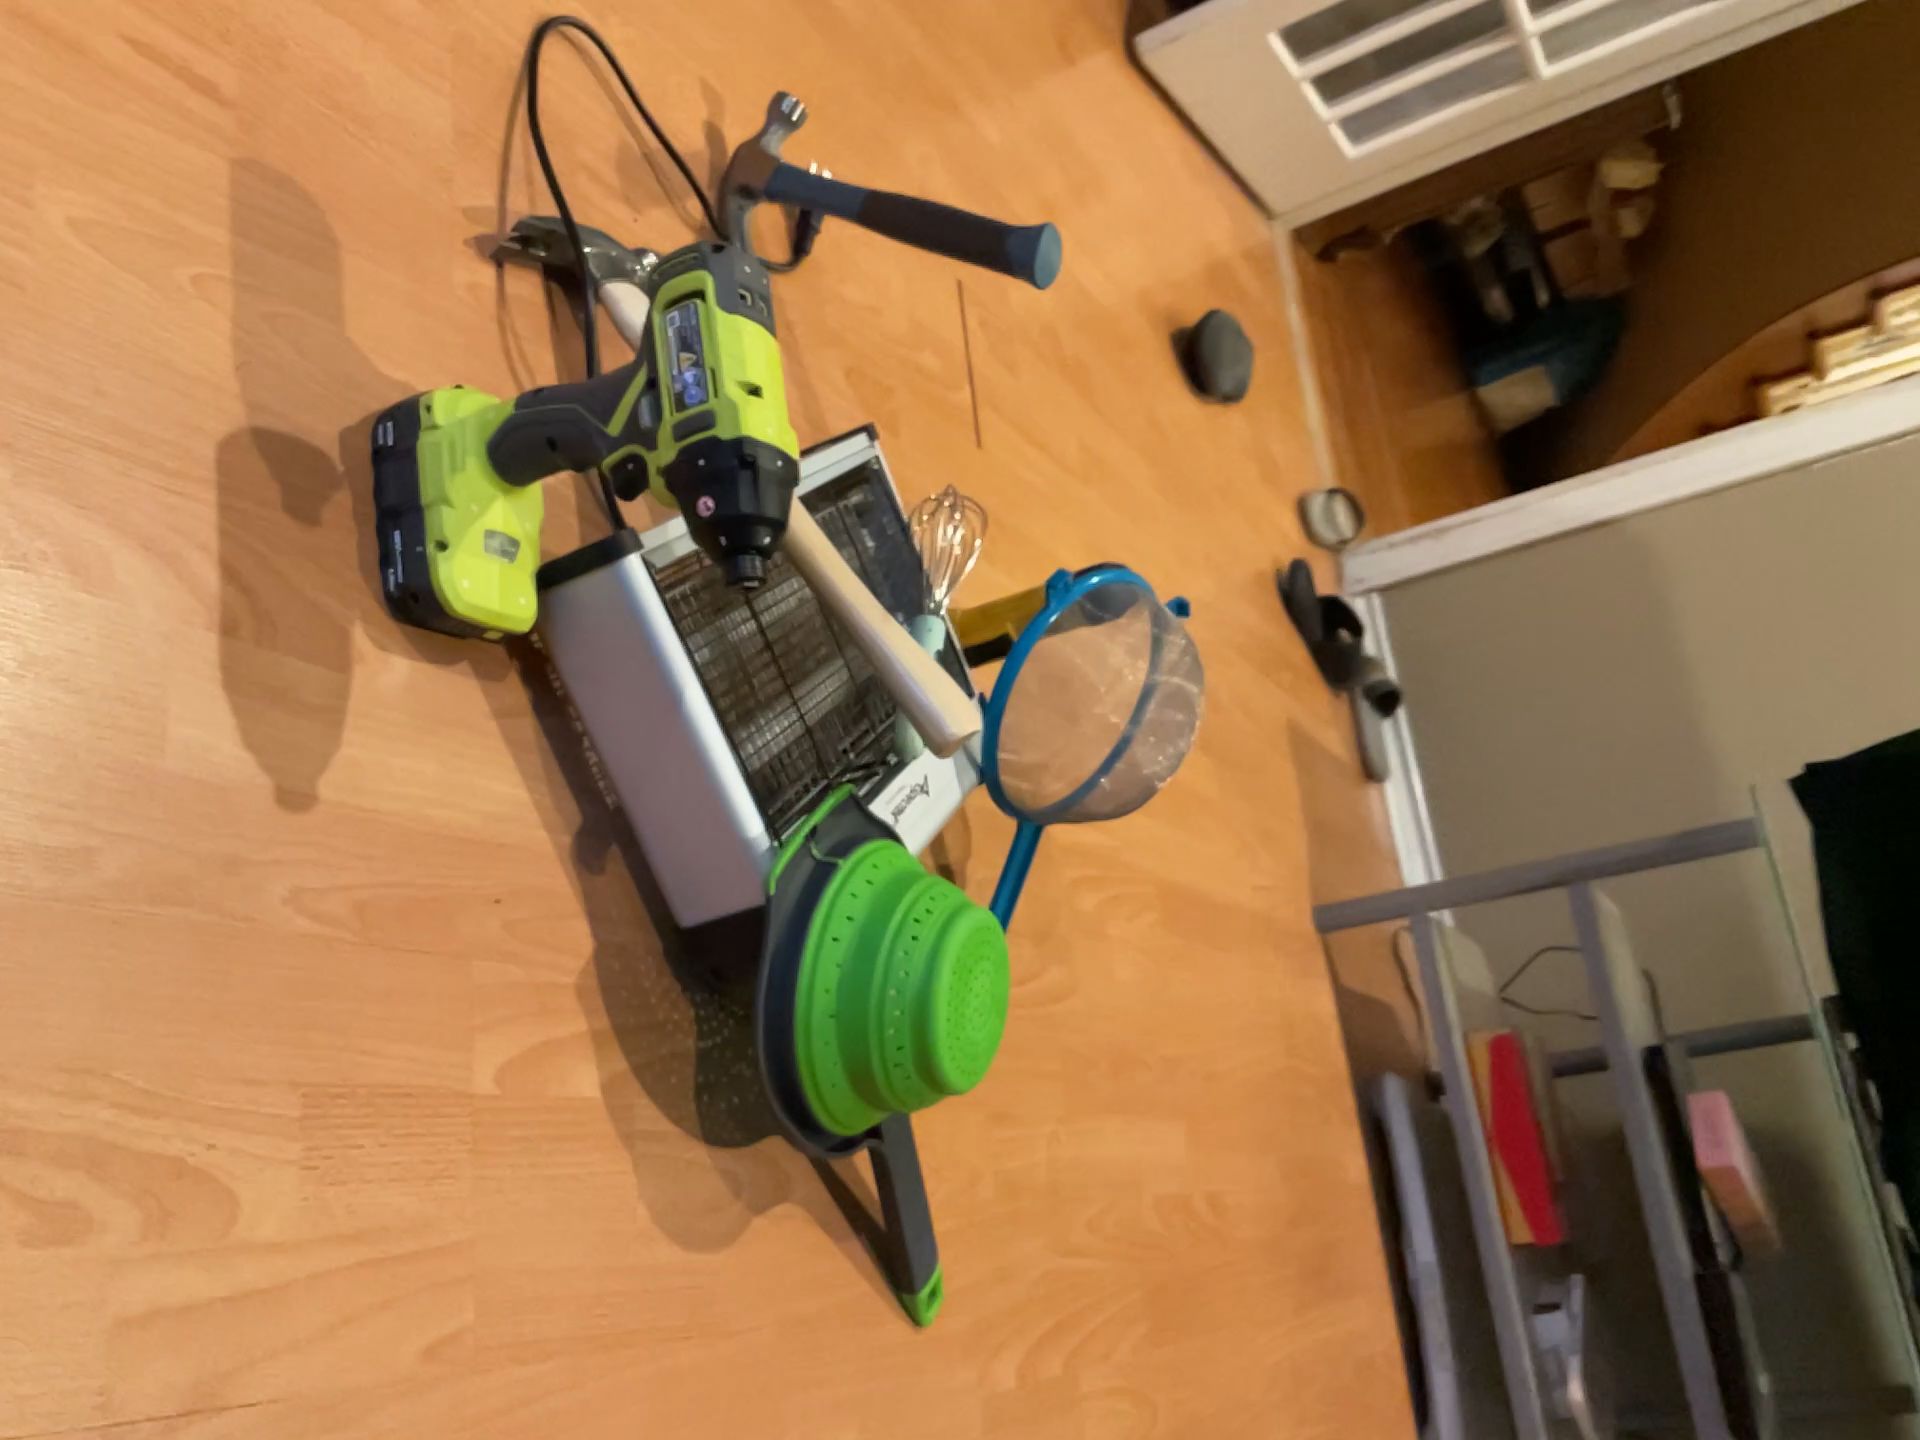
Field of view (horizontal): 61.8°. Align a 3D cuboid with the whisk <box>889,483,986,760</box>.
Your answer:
[{"bbox_3d":[-0.021,-0.074,1.134,0.057,0.059,0.246,90,7,-53],"label":"whisk"}]

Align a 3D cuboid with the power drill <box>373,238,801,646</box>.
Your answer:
[{"bbox_3d":[-0.185,-0.123,0.808,0.080,0.223,0.171,18,60,-60],"label":"power drill"}]

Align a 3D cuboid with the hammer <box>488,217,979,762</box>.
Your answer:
[{"bbox_3d":[-0.128,-0.143,0.976,0.410,0.038,0.146,53,22,11],"label":"hammer"}]

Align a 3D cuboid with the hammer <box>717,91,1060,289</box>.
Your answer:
[{"bbox_3d":[-0.056,-0.366,1.149,0.128,0.331,0.033,-59,143,-3],"label":"hammer"}]

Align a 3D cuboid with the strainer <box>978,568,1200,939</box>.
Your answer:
[{"bbox_3d":[0.097,0.058,1.221,0.211,0.095,0.340,5,106,-52],"label":"strainer"}]

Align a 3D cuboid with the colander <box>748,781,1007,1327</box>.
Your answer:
[{"bbox_3d":[-0.021,0.230,0.982,0.205,0.094,0.396,-52,139,-52],"label":"colander"}]
